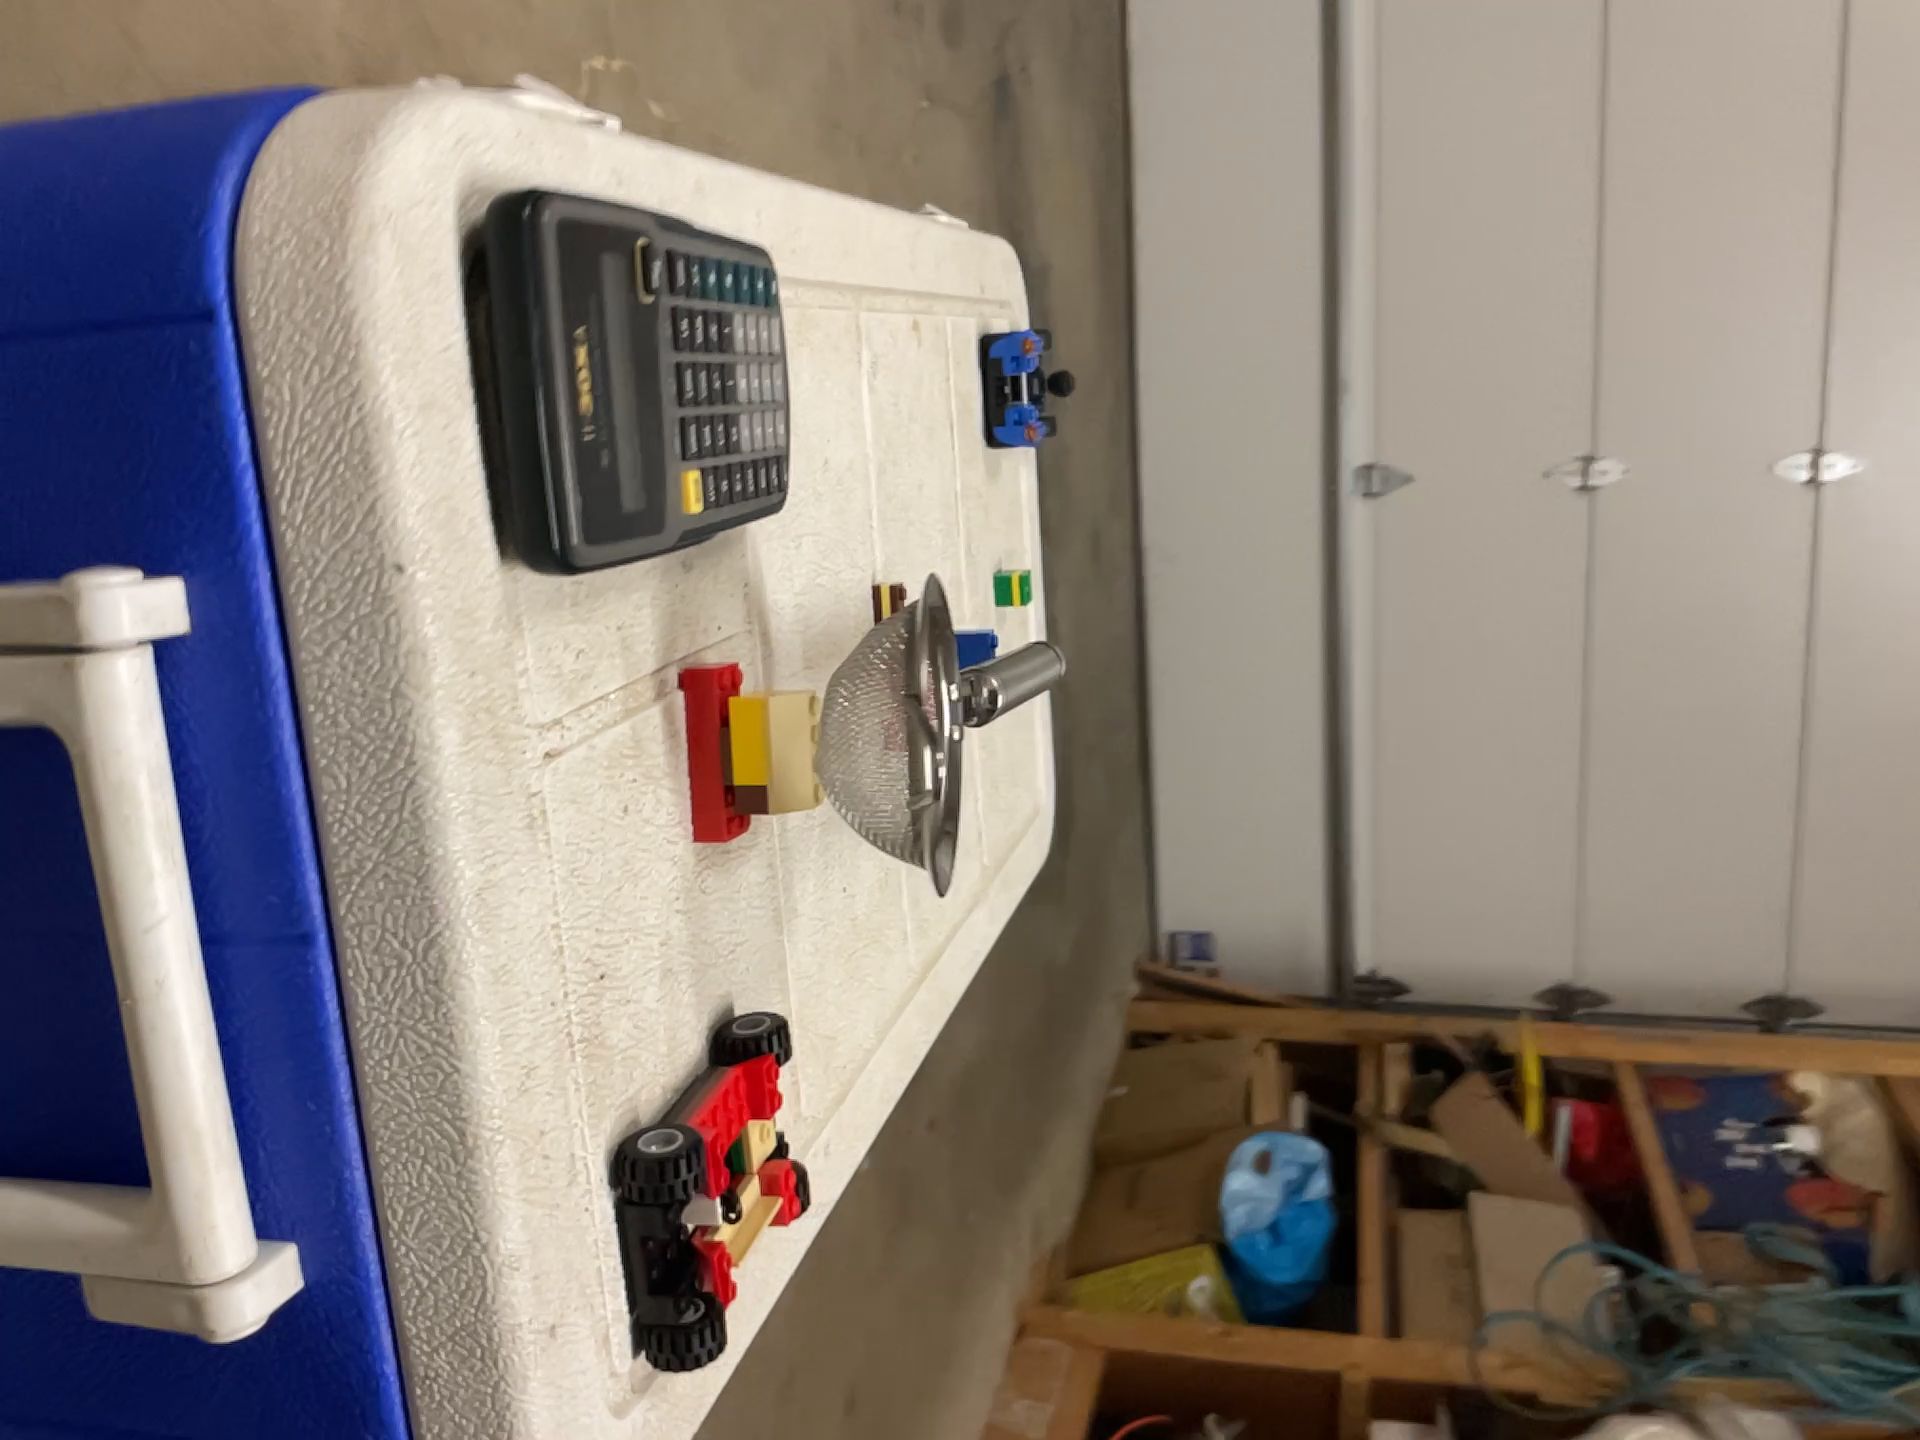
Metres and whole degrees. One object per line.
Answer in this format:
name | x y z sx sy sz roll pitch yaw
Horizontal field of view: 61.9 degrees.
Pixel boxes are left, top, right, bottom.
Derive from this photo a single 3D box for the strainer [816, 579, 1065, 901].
strainer | 0.002 -0.004 0.500 0.258 0.050 0.086 -30 120 -74
